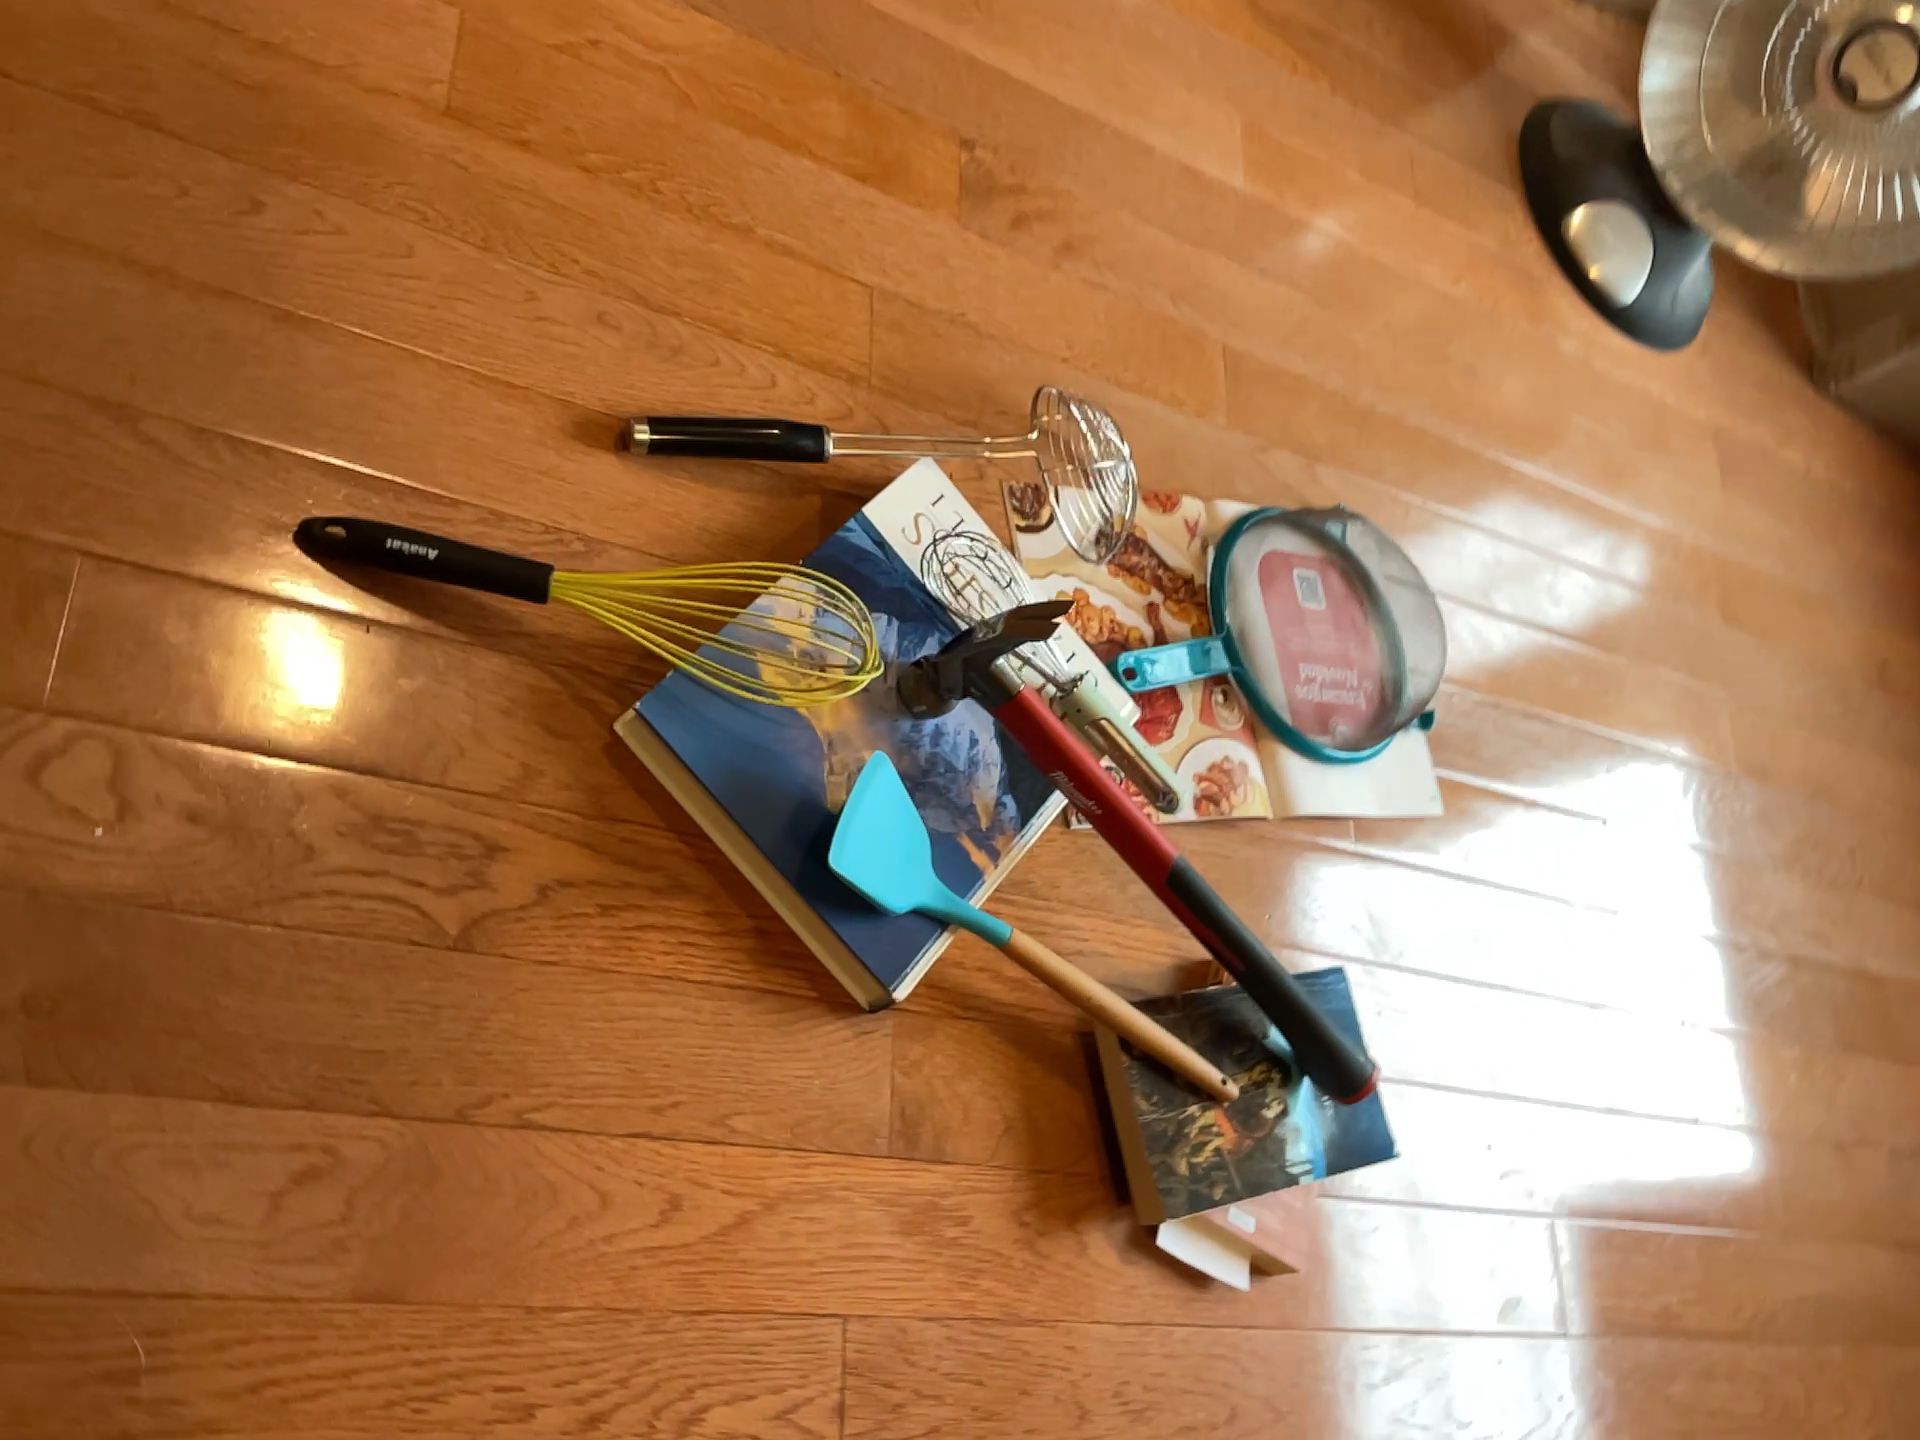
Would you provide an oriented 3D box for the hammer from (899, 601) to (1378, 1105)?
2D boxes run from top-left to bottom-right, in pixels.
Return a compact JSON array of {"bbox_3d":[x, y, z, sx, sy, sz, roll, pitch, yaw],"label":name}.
[{"bbox_3d":[0.132,0.089,0.943,0.386,0.143,0.038,47,55,-14],"label":"hammer"}]

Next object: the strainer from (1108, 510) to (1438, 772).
[{"bbox_3d":[0.243,-0.065,1.137,0.341,0.095,0.211,-11,79,-44],"label":"strainer"}]

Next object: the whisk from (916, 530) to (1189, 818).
[{"bbox_3d":[0.062,-0.026,0.995,0.246,0.057,0.059,46,21,-17],"label":"whisk"}]

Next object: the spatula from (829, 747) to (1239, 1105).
[{"bbox_3d":[0.051,0.138,0.916,0.317,0.044,0.083,36,53,-18],"label":"spatula"}]

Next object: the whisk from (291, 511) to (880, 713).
[{"bbox_3d":[-0.192,-0.065,0.846,0.311,0.067,0.080,13,79,-15],"label":"whisk"}]

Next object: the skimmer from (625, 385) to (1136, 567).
[{"bbox_3d":[-0.040,-0.163,1.032,0.363,0.090,0.127,-2,75,-24],"label":"skimmer"}]
